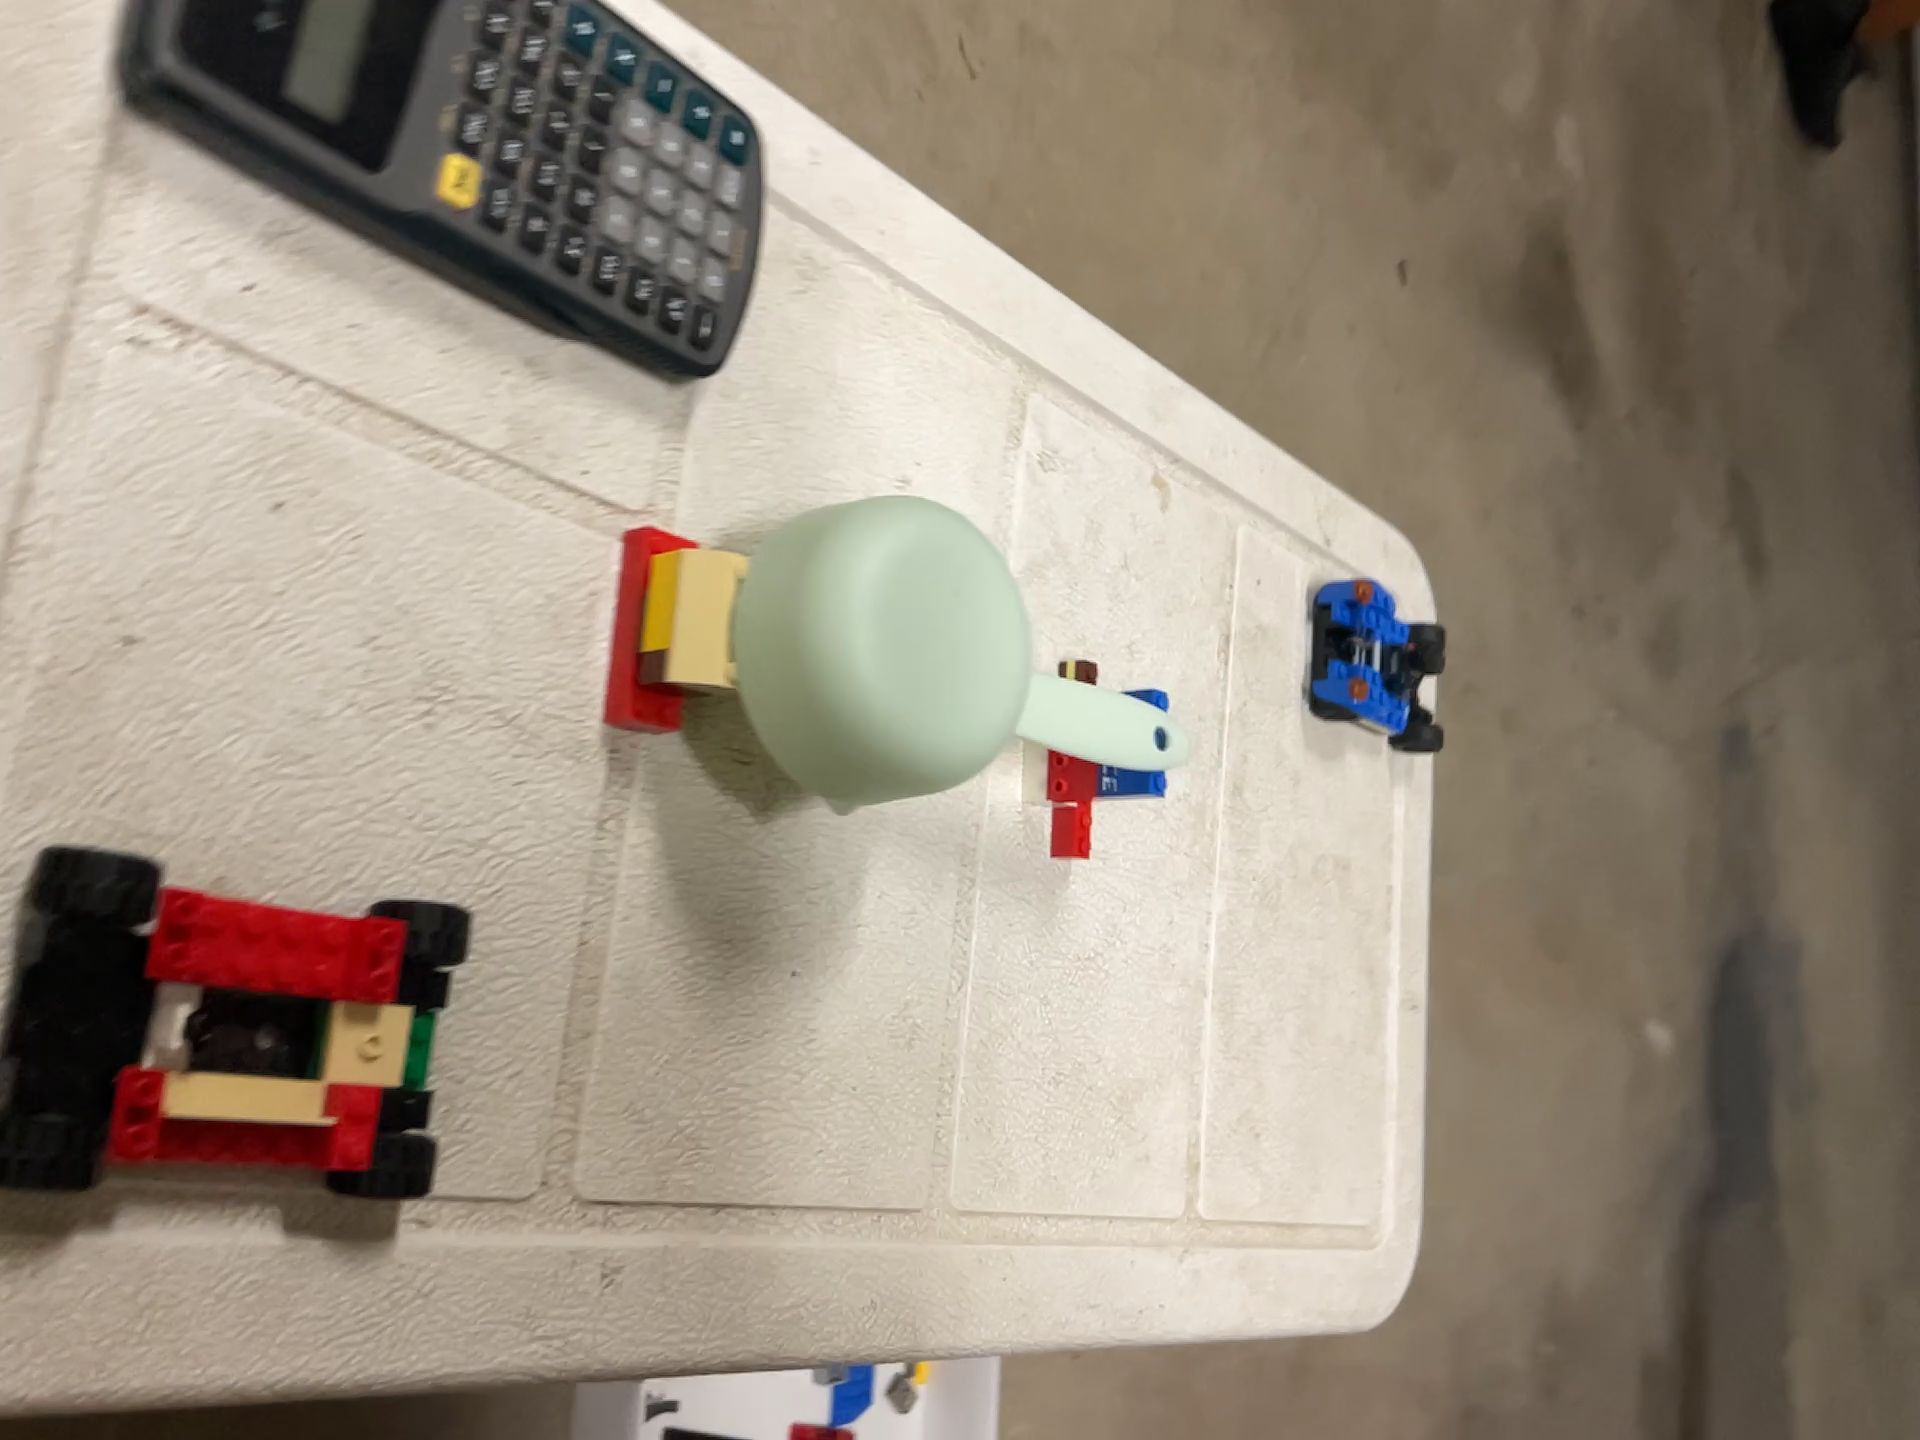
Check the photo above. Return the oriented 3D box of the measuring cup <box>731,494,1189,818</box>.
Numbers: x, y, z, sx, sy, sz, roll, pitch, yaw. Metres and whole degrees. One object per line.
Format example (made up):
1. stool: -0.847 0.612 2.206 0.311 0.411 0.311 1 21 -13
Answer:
1. measuring cup: 0.018 -0.009 0.423 0.168 0.038 0.083 15 74 -41
